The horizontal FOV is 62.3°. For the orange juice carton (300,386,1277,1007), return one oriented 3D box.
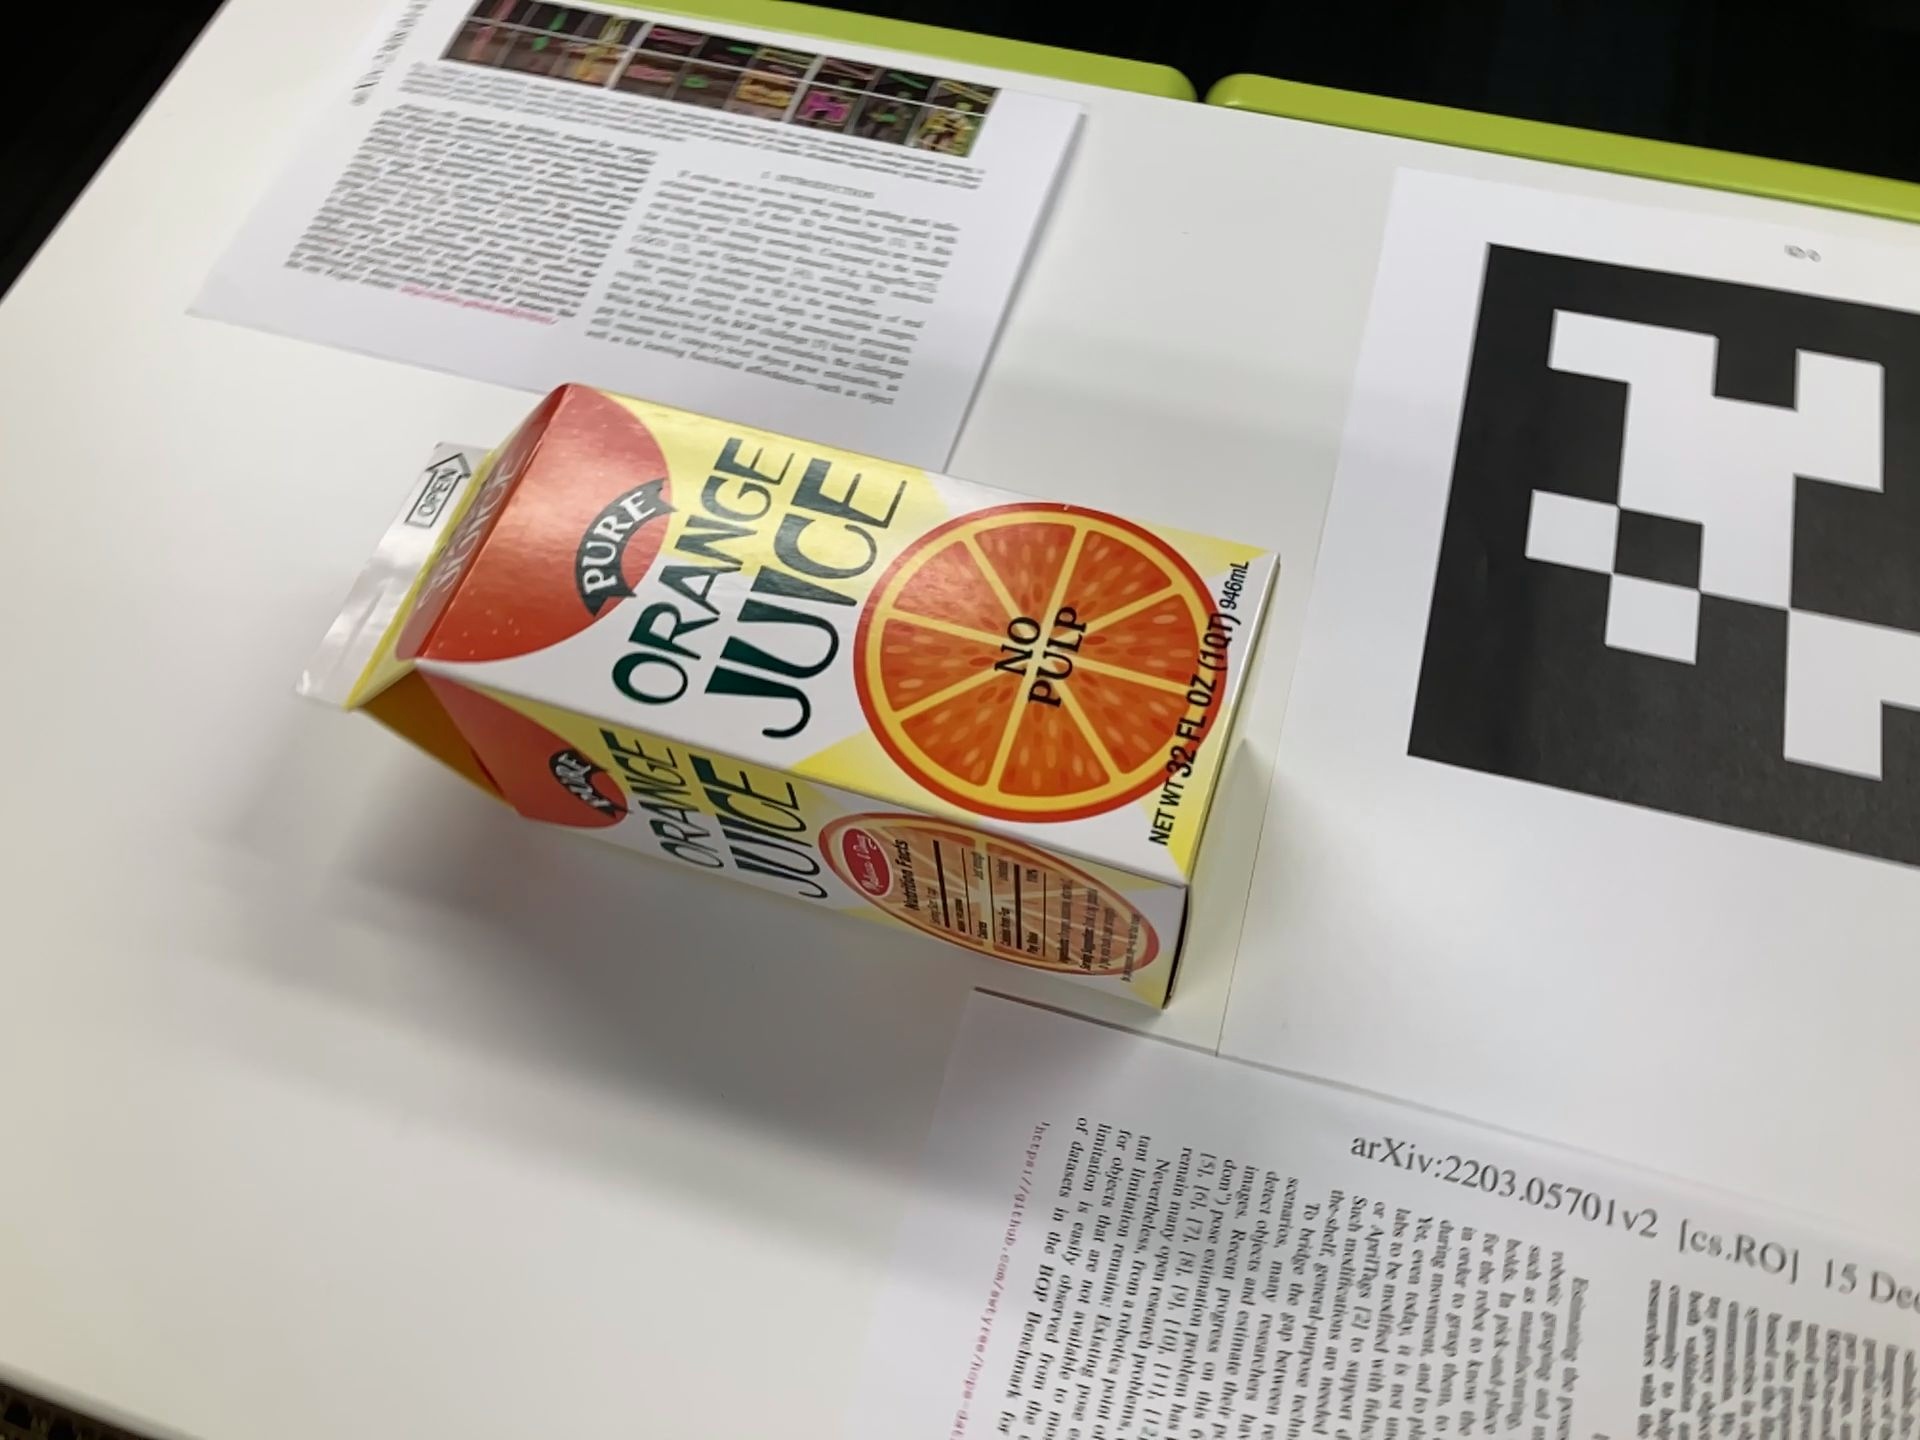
[{"bbox_3d":[-0.039,-0.009,0.333,0.192,0.073,0.072,15,64,10],"label":"orange juice carton"}]
